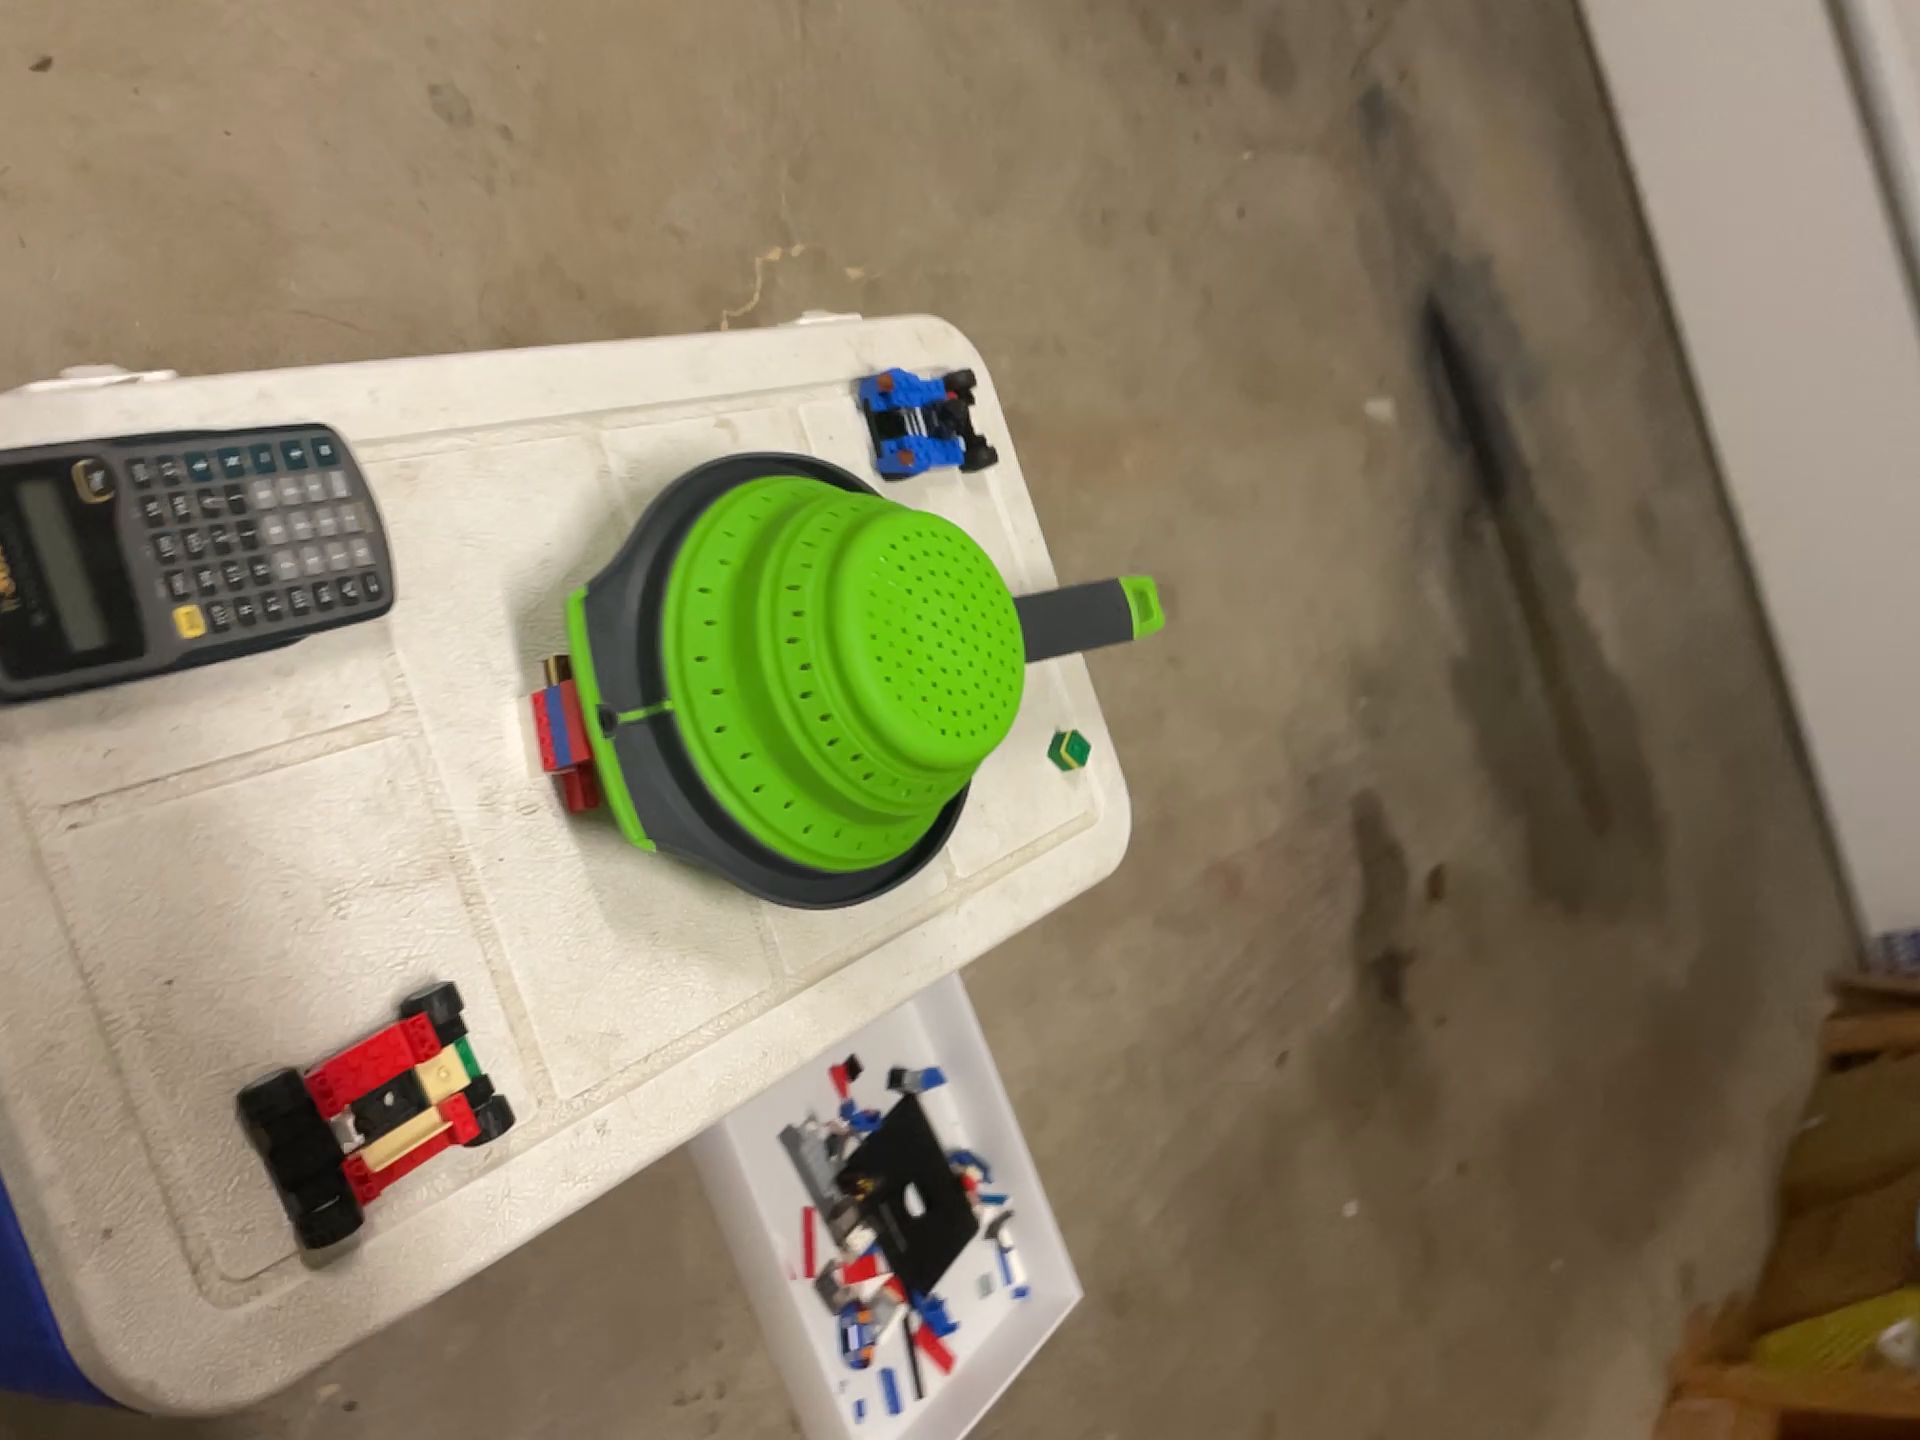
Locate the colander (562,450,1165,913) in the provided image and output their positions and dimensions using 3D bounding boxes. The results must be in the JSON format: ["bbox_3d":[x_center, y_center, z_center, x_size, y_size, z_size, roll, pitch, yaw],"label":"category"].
[{"bbox_3d":[0.011,-0.040,0.732,0.397,0.094,0.204,-15,90,-50],"label":"colander"}]
